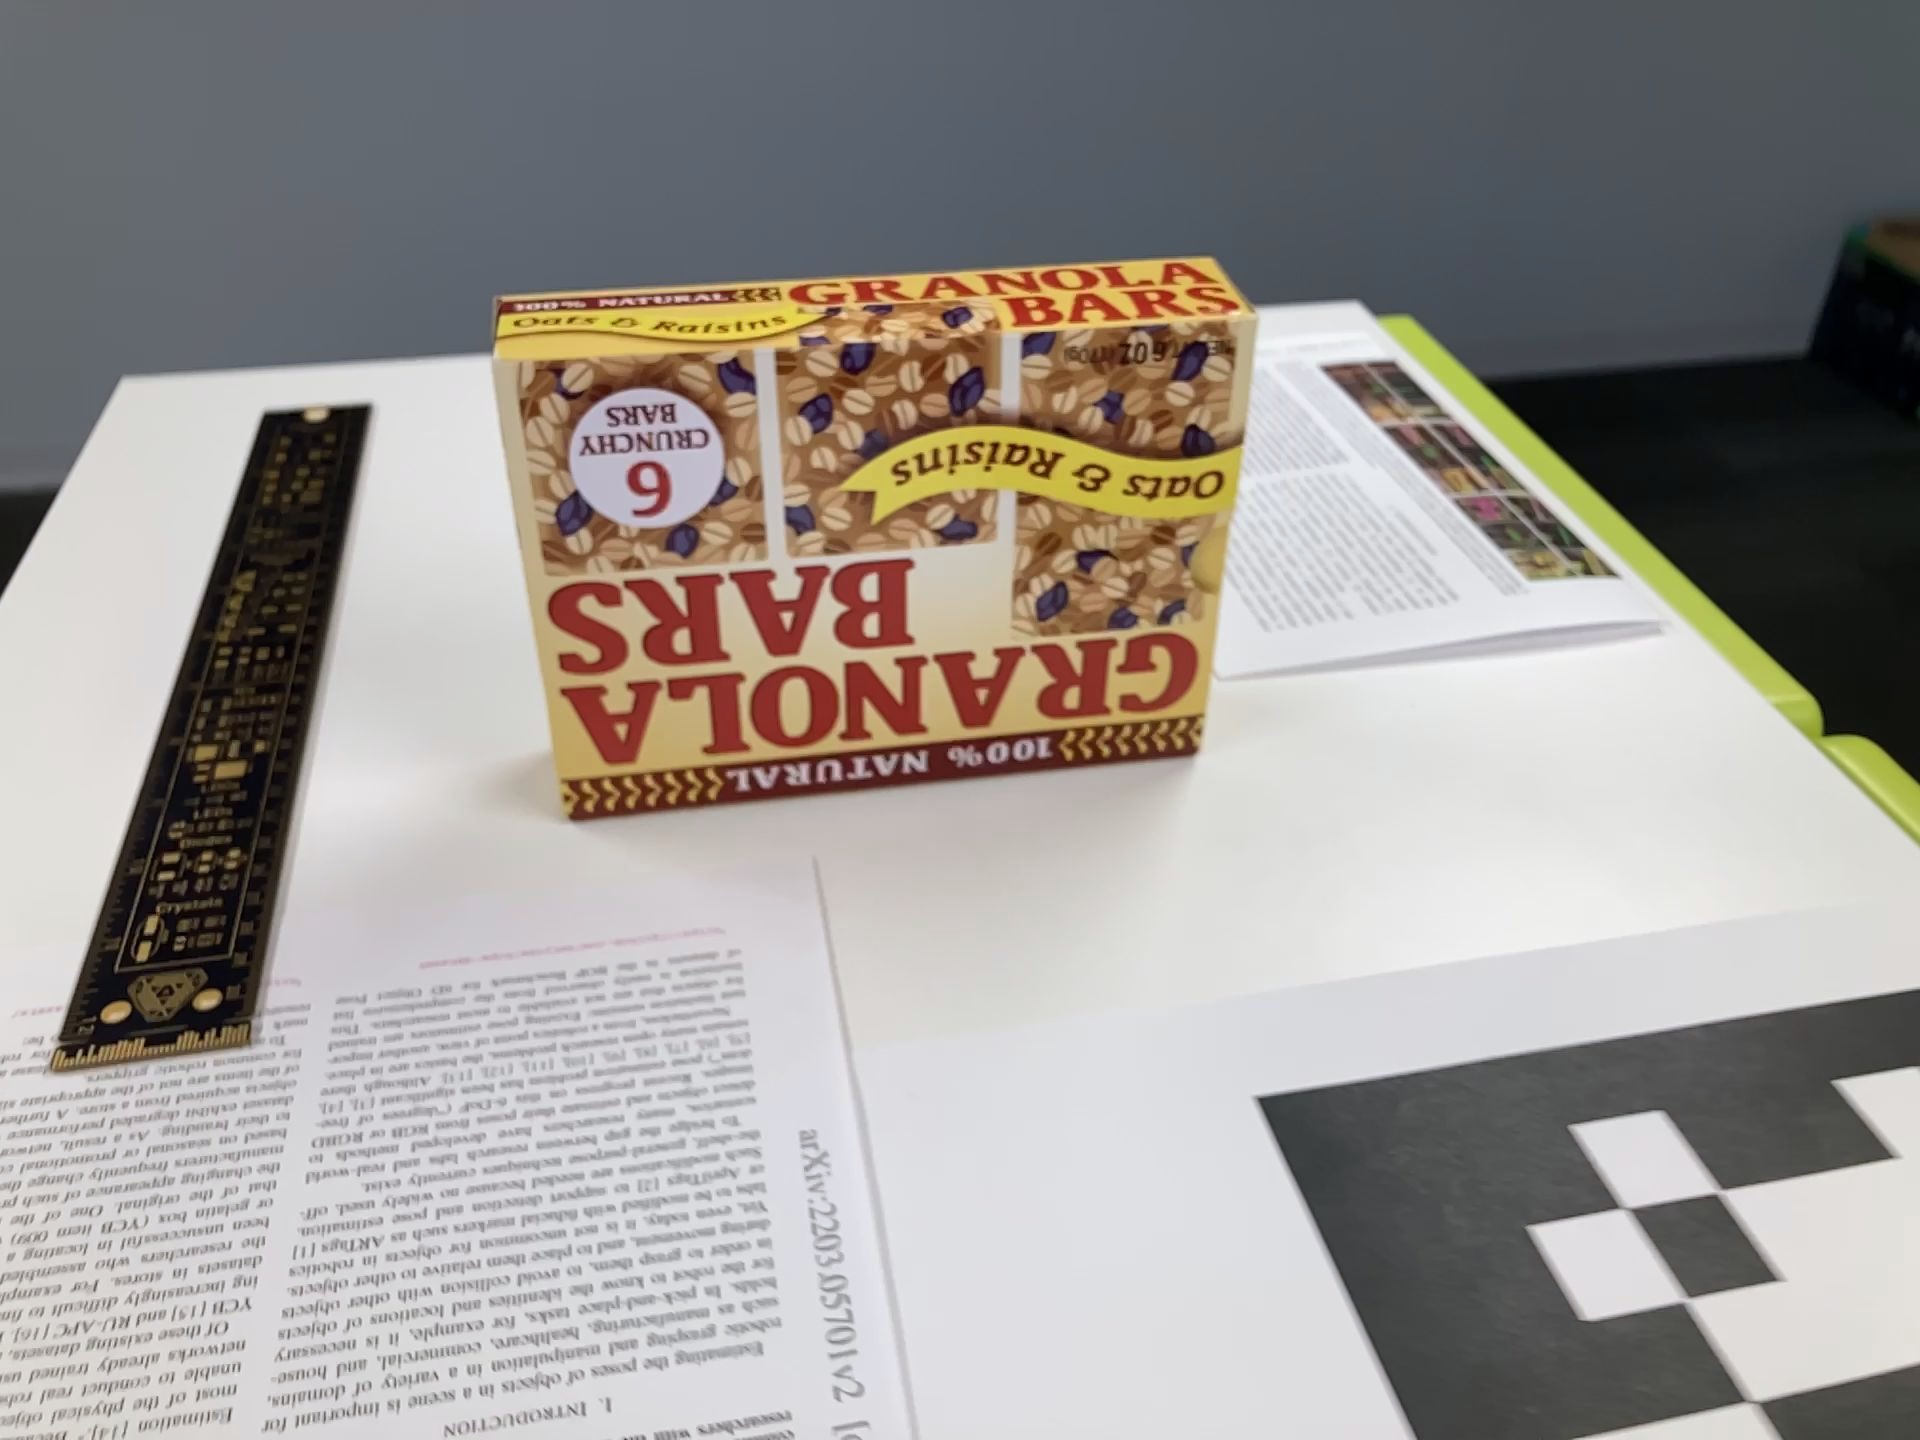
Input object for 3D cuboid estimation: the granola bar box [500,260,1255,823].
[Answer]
[{"bbox_3d":[-0.018,-0.042,0.389,0.165,0.124,0.039,-6,37,-9],"label":"granola bar box"}]
